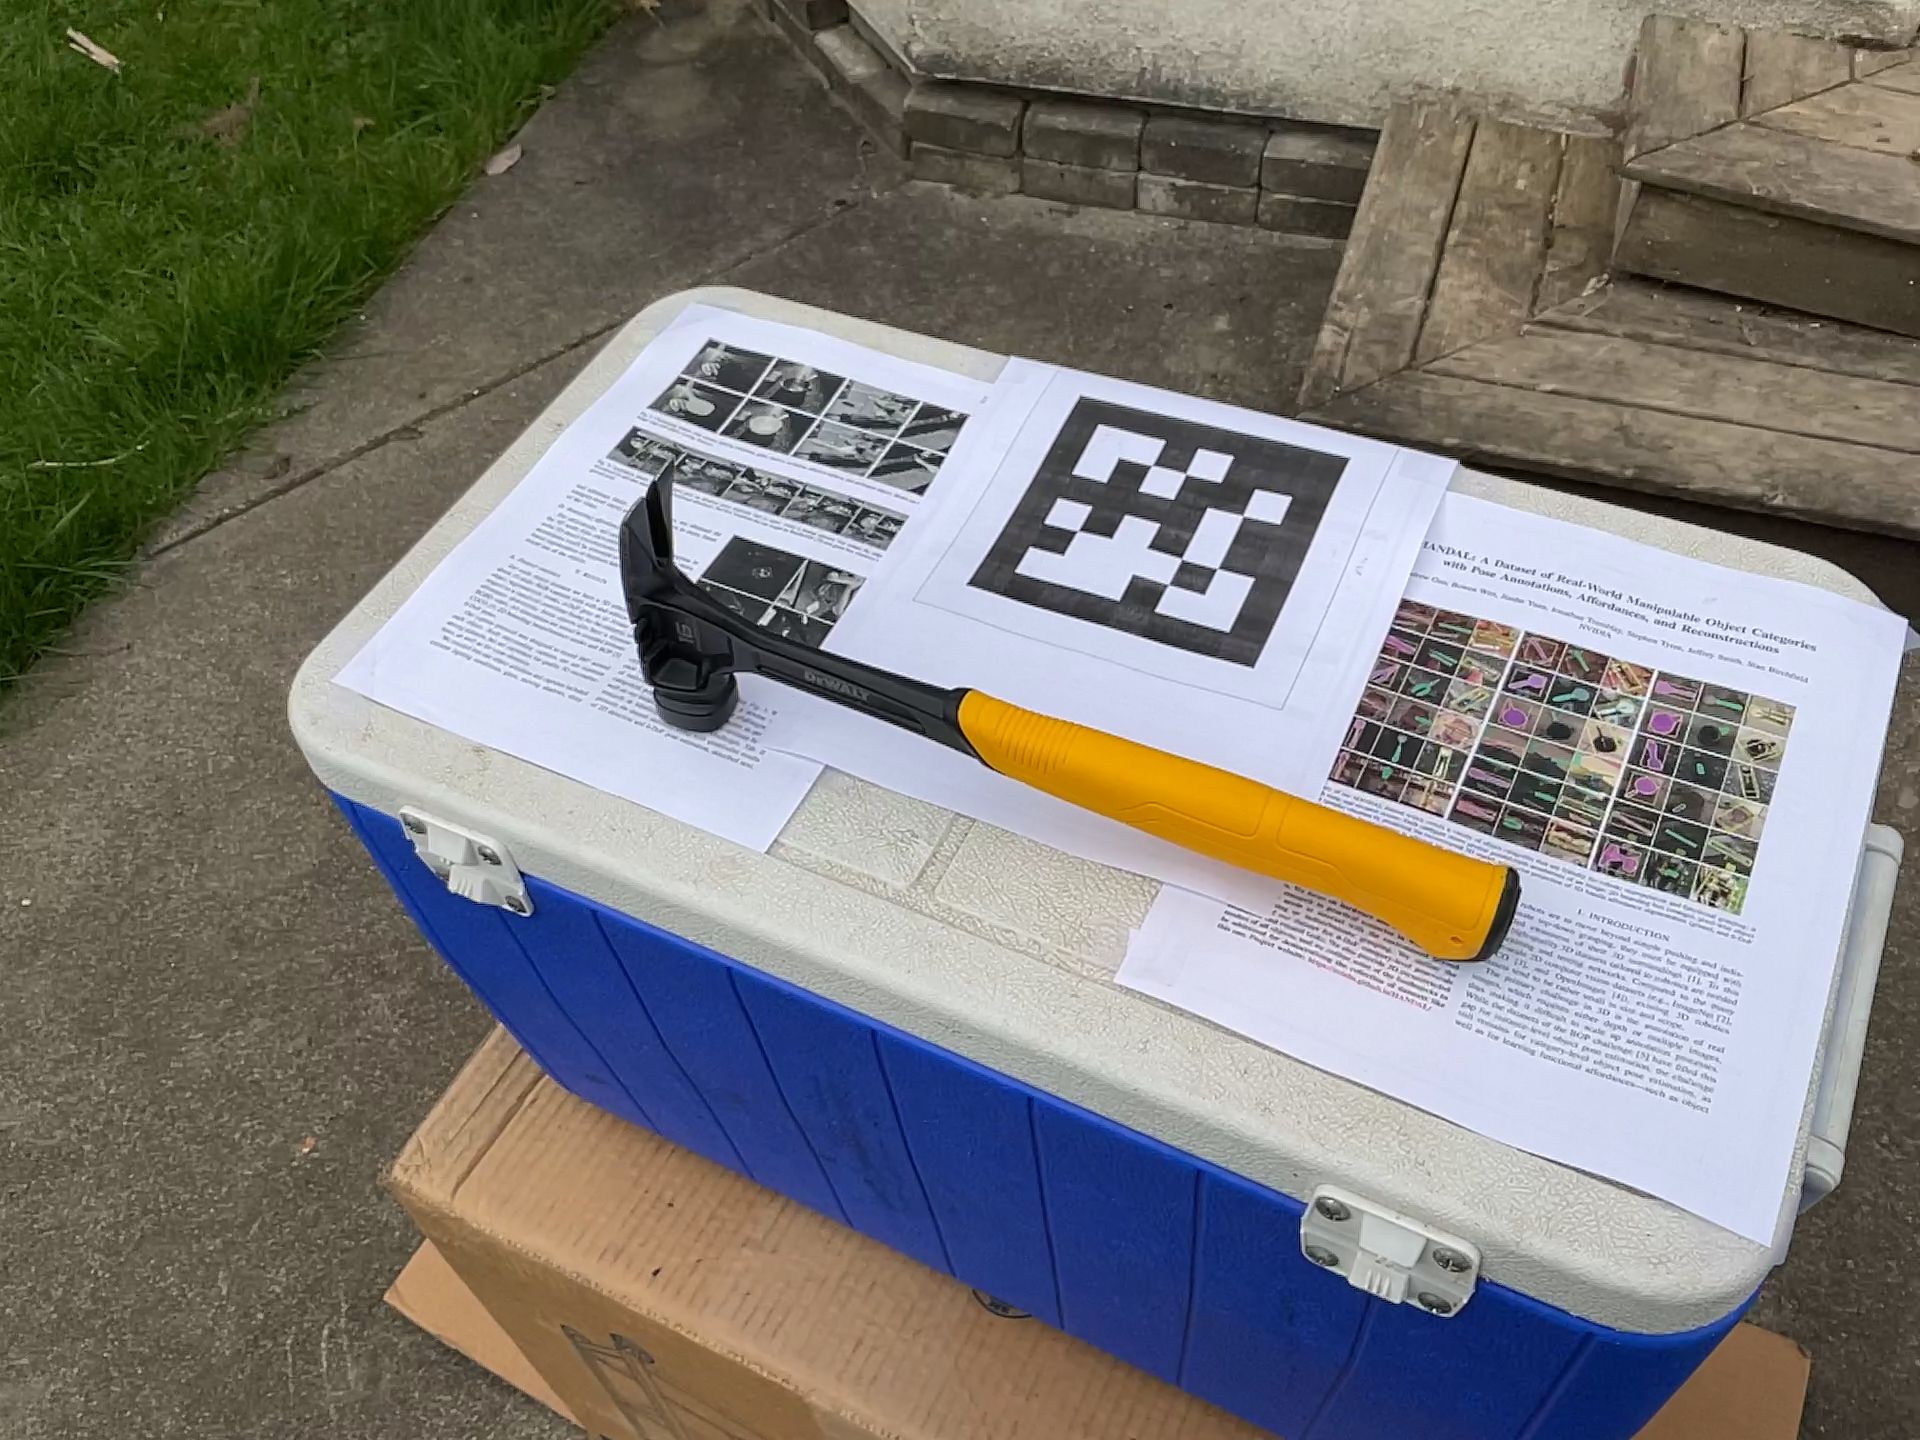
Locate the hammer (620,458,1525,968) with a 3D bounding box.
[{"bbox_3d":[0.032,0.008,0.571,0.337,0.127,0.034,20,55,13],"label":"hammer"}]
